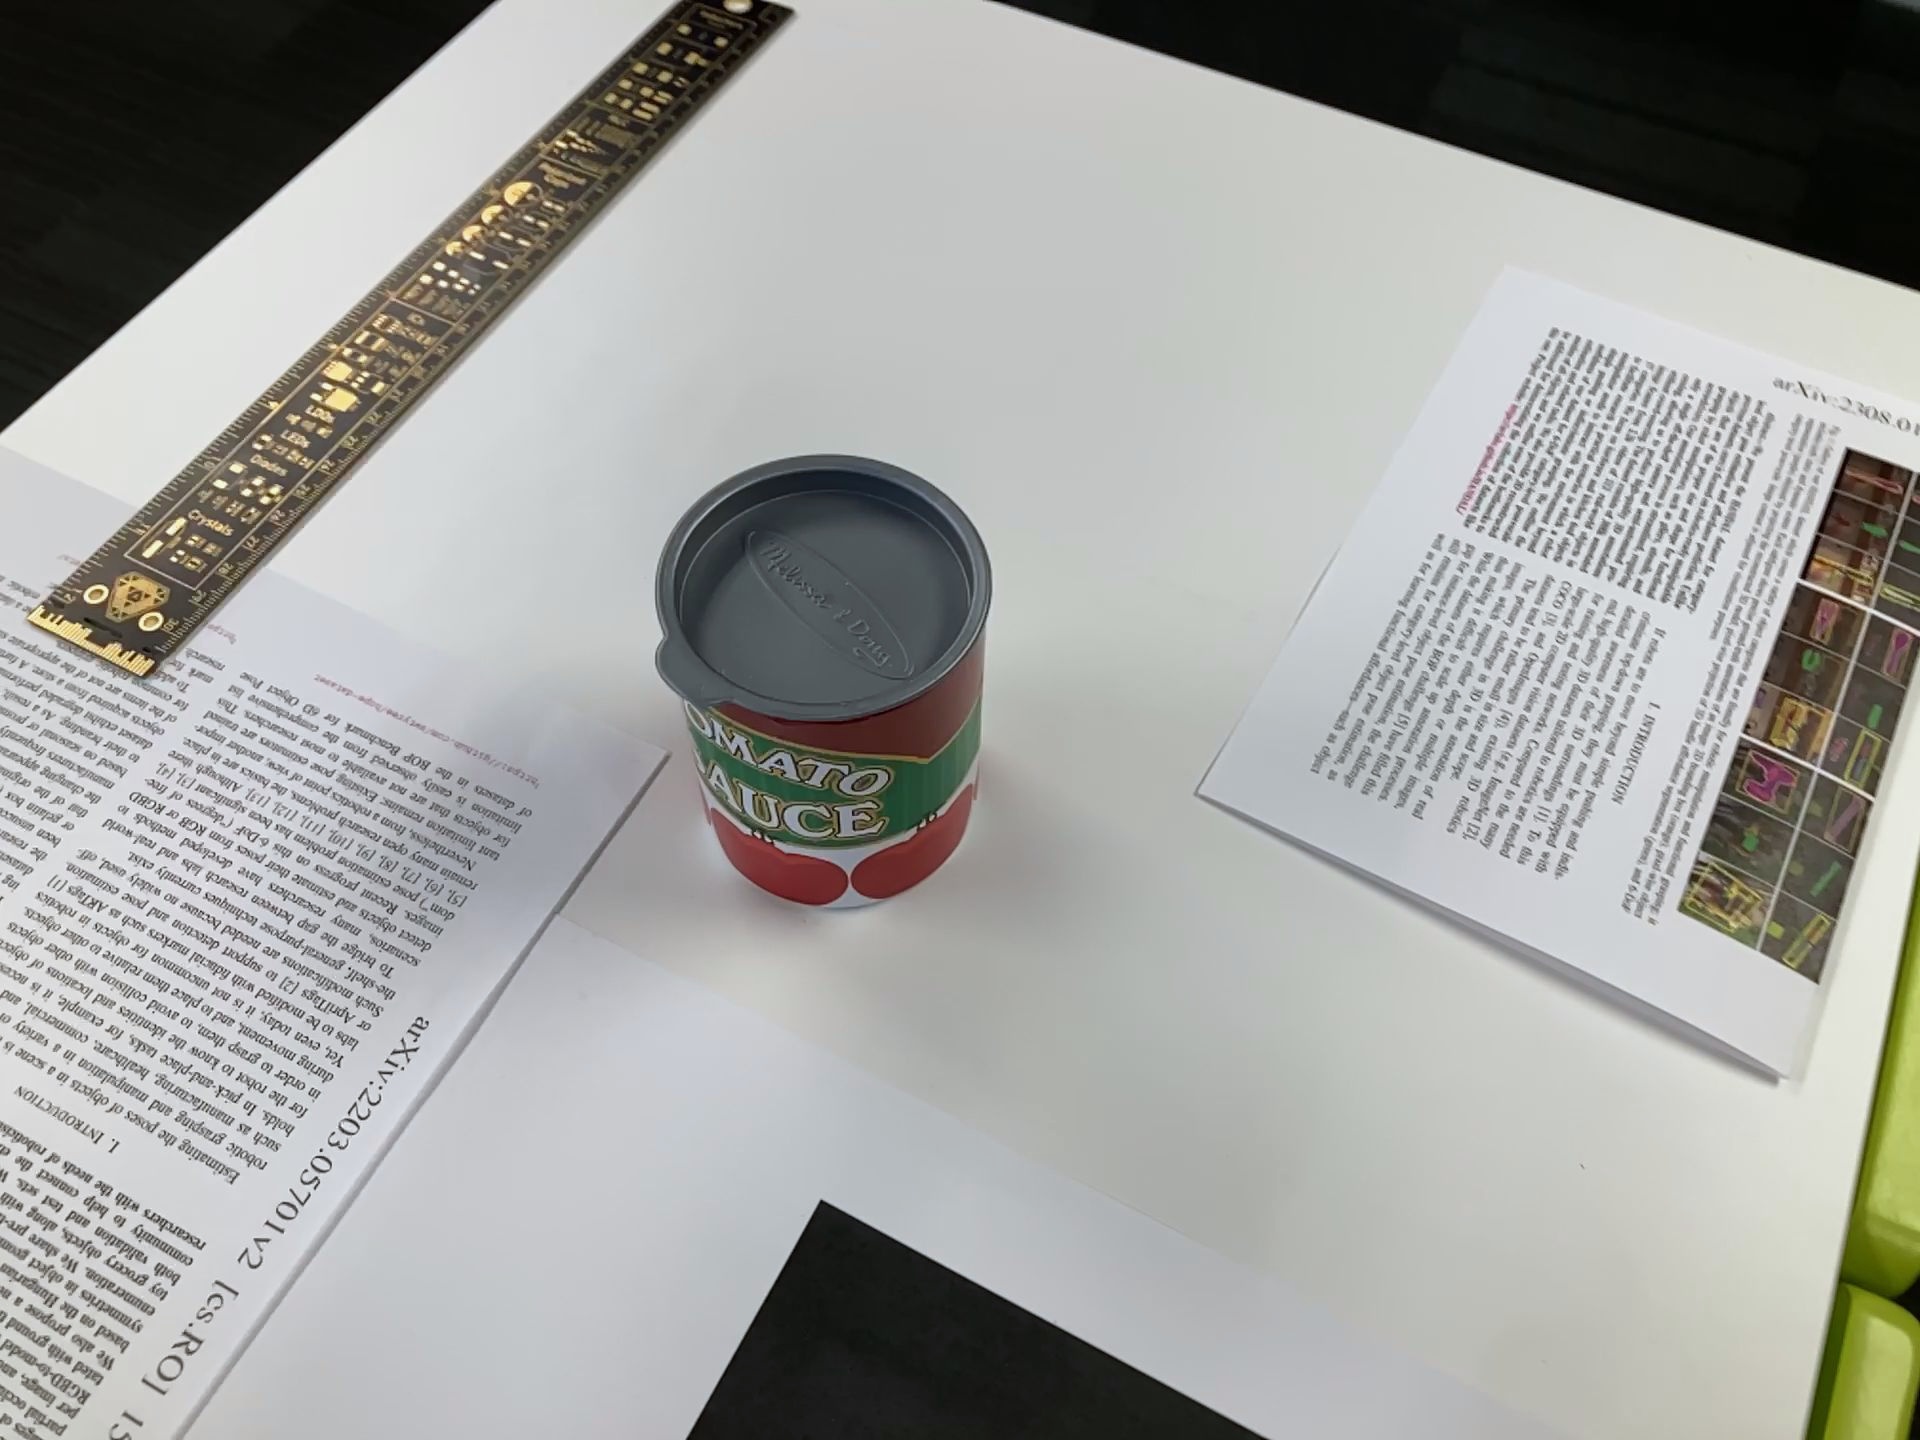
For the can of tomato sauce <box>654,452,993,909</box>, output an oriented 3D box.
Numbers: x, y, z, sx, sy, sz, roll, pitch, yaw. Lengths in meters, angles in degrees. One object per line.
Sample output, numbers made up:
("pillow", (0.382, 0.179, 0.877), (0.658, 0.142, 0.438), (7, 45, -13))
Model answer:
("can of tomato sauce", (-0.029, -0.005, 0.346), (0.071, 0.083, 0.071), (1, 57, -1))
